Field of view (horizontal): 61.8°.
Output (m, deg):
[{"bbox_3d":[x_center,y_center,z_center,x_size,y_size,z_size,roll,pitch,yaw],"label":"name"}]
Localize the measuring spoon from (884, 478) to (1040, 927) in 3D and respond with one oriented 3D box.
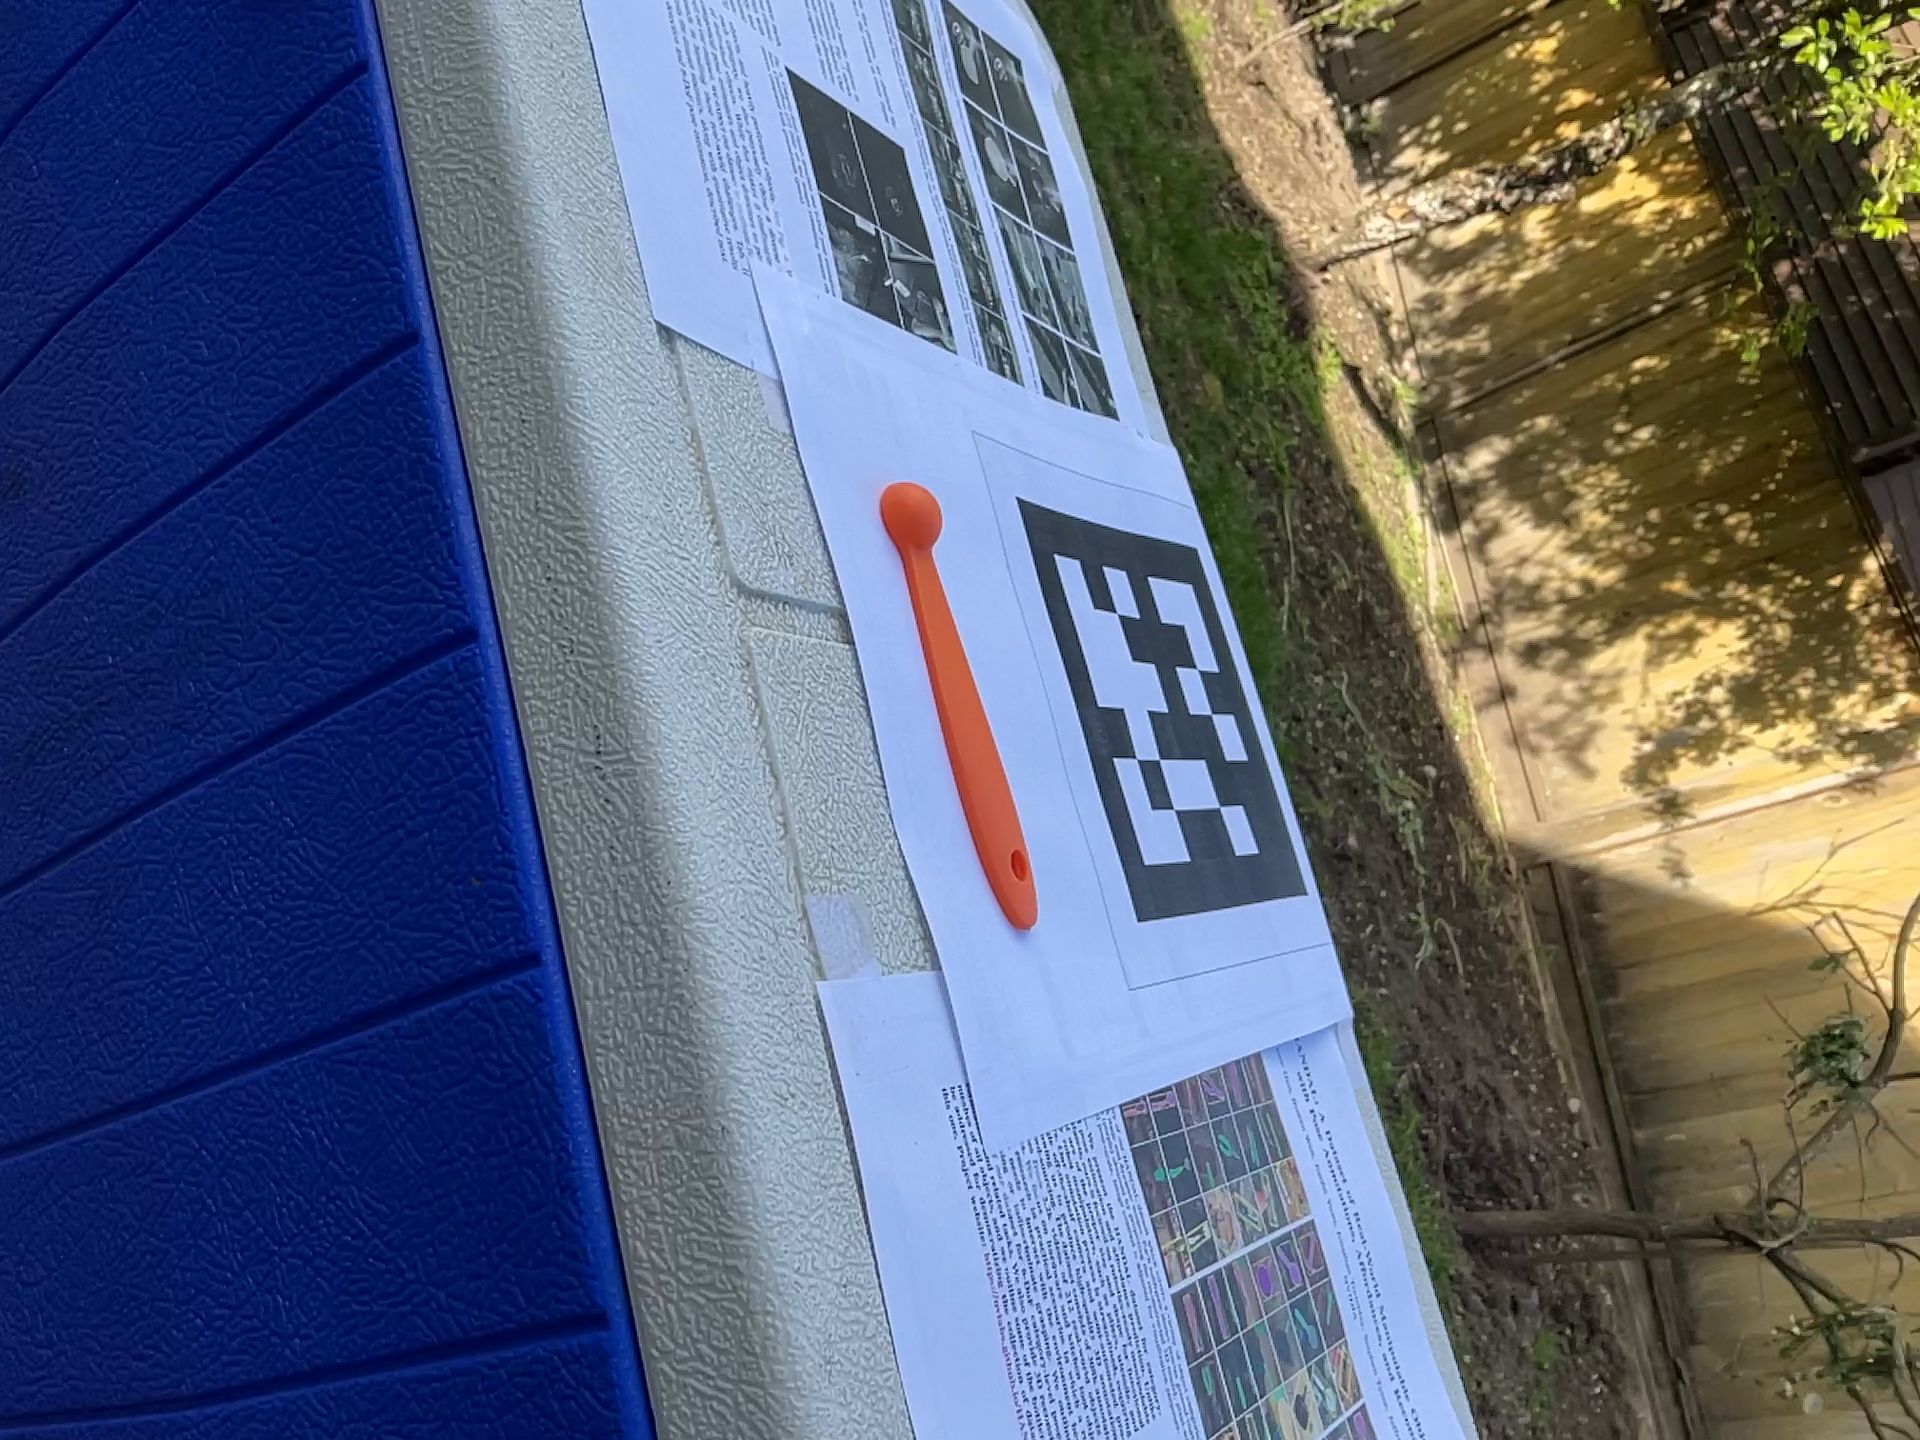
[{"bbox_3d":[0.003,-0.006,0.397,0.021,0.011,0.117,-2,74,-55],"label":"measuring spoon"}]
